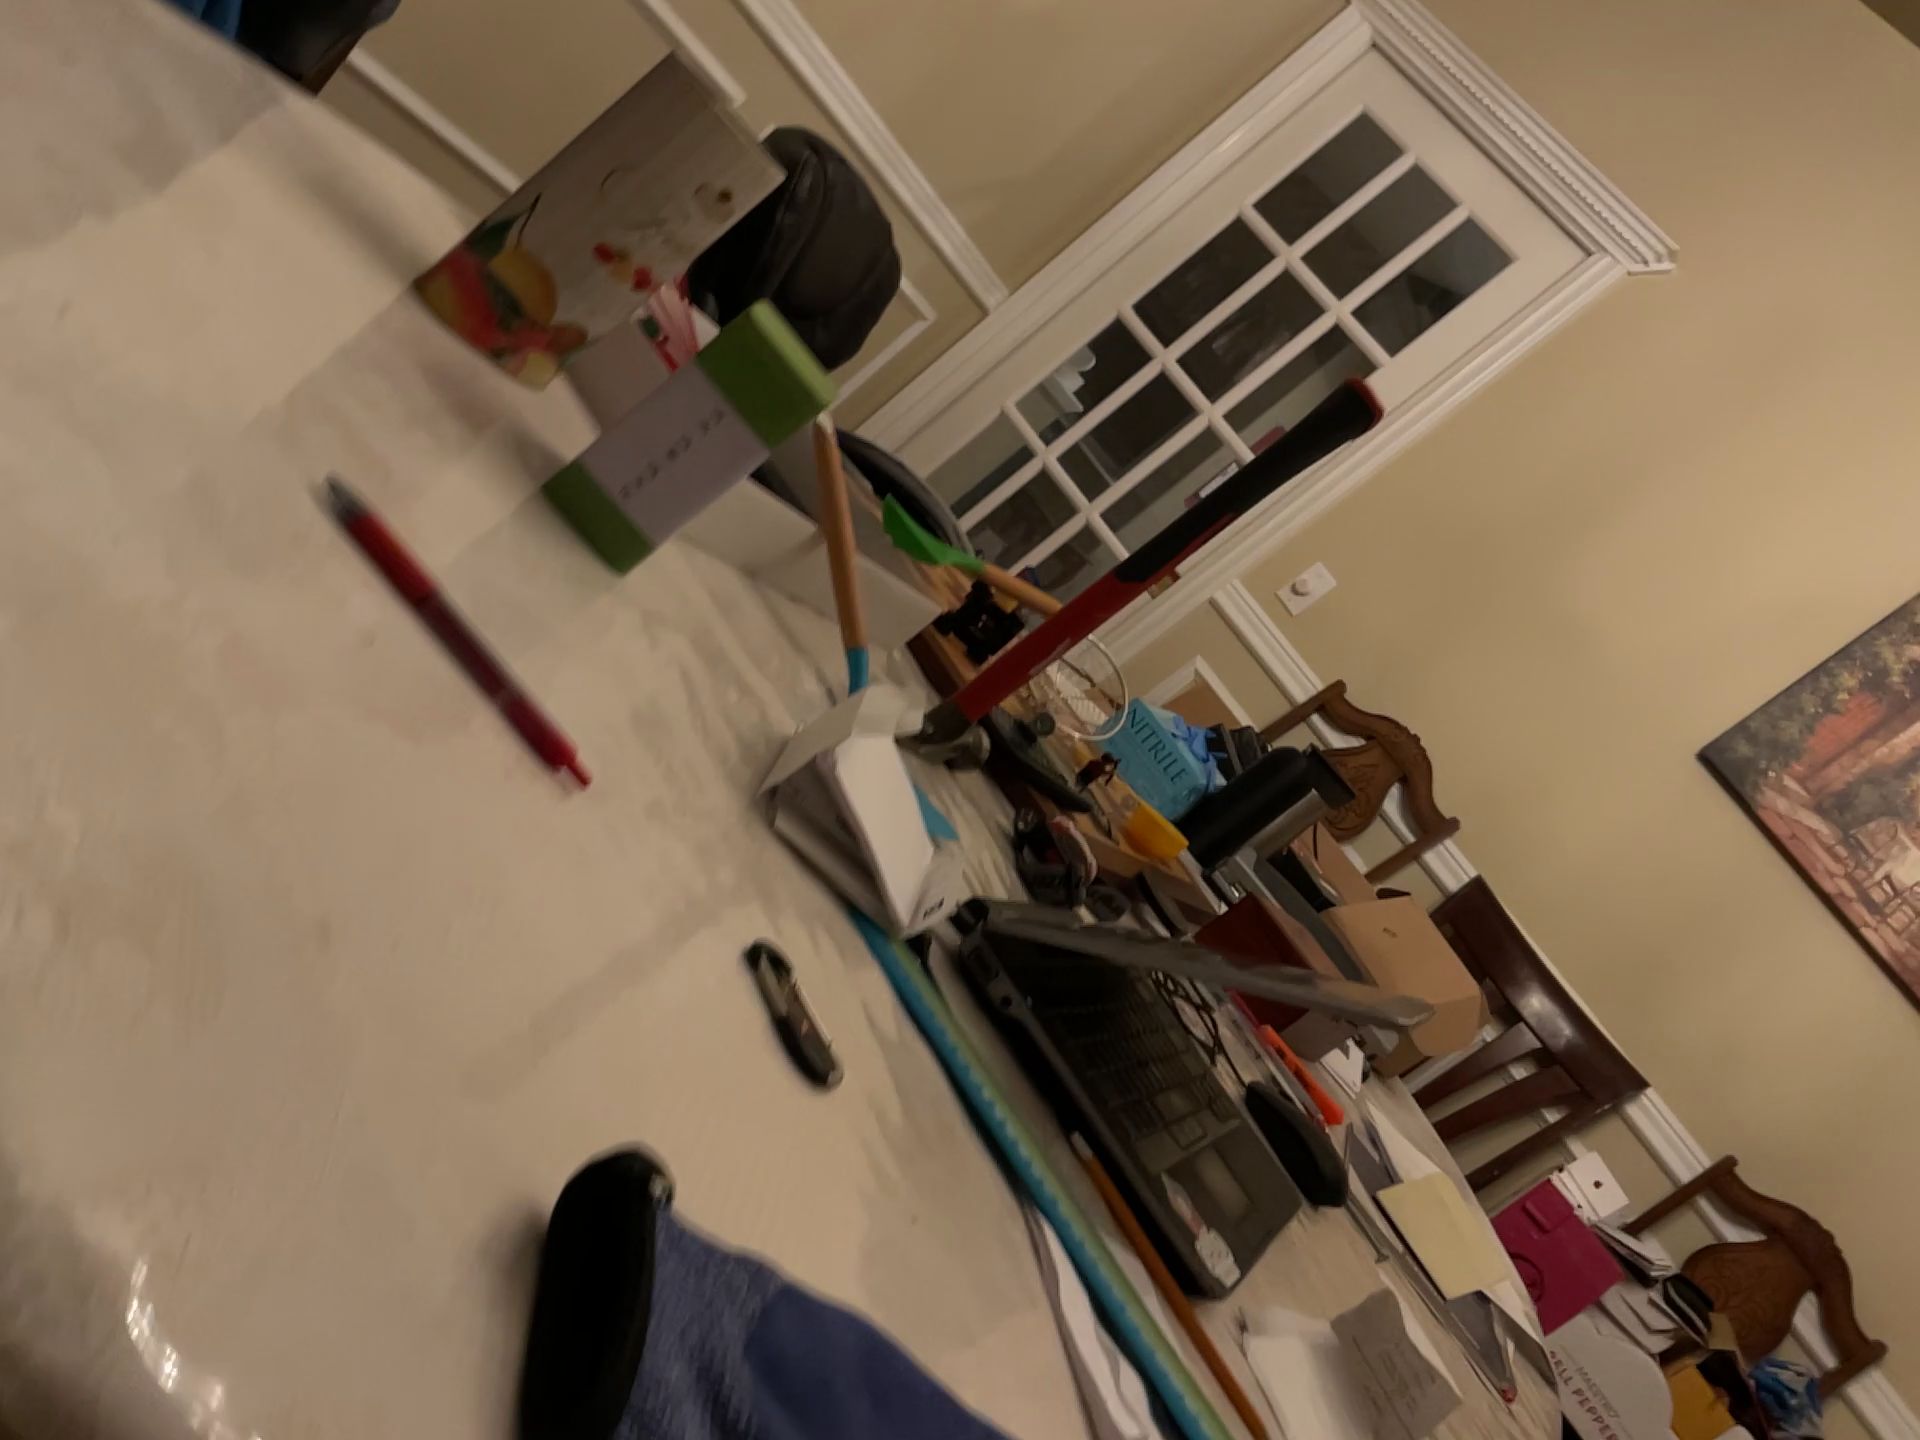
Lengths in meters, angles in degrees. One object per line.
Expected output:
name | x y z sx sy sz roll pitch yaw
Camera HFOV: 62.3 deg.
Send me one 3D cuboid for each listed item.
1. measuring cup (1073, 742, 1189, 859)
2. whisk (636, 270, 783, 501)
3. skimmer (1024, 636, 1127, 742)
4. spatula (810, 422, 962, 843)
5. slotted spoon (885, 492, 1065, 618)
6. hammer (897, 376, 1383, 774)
measuring cup | 0.159 0.079 1.562 0.157 0.029 0.062 43 9 25
whisk | -0.193 -0.255 1.102 0.073 0.073 0.295 -91 160 -44
skimmer | 0.101 -0.027 1.431 0.127 0.090 0.363 53 6 0
spatula | -0.060 -0.070 1.012 0.082 0.044 0.318 32 43 -59
slotted spoon | 0.031 -0.123 1.382 0.313 0.031 0.070 23 27 -51
hammer | 0.112 -0.102 1.067 0.038 0.386 0.143 57 11 26
